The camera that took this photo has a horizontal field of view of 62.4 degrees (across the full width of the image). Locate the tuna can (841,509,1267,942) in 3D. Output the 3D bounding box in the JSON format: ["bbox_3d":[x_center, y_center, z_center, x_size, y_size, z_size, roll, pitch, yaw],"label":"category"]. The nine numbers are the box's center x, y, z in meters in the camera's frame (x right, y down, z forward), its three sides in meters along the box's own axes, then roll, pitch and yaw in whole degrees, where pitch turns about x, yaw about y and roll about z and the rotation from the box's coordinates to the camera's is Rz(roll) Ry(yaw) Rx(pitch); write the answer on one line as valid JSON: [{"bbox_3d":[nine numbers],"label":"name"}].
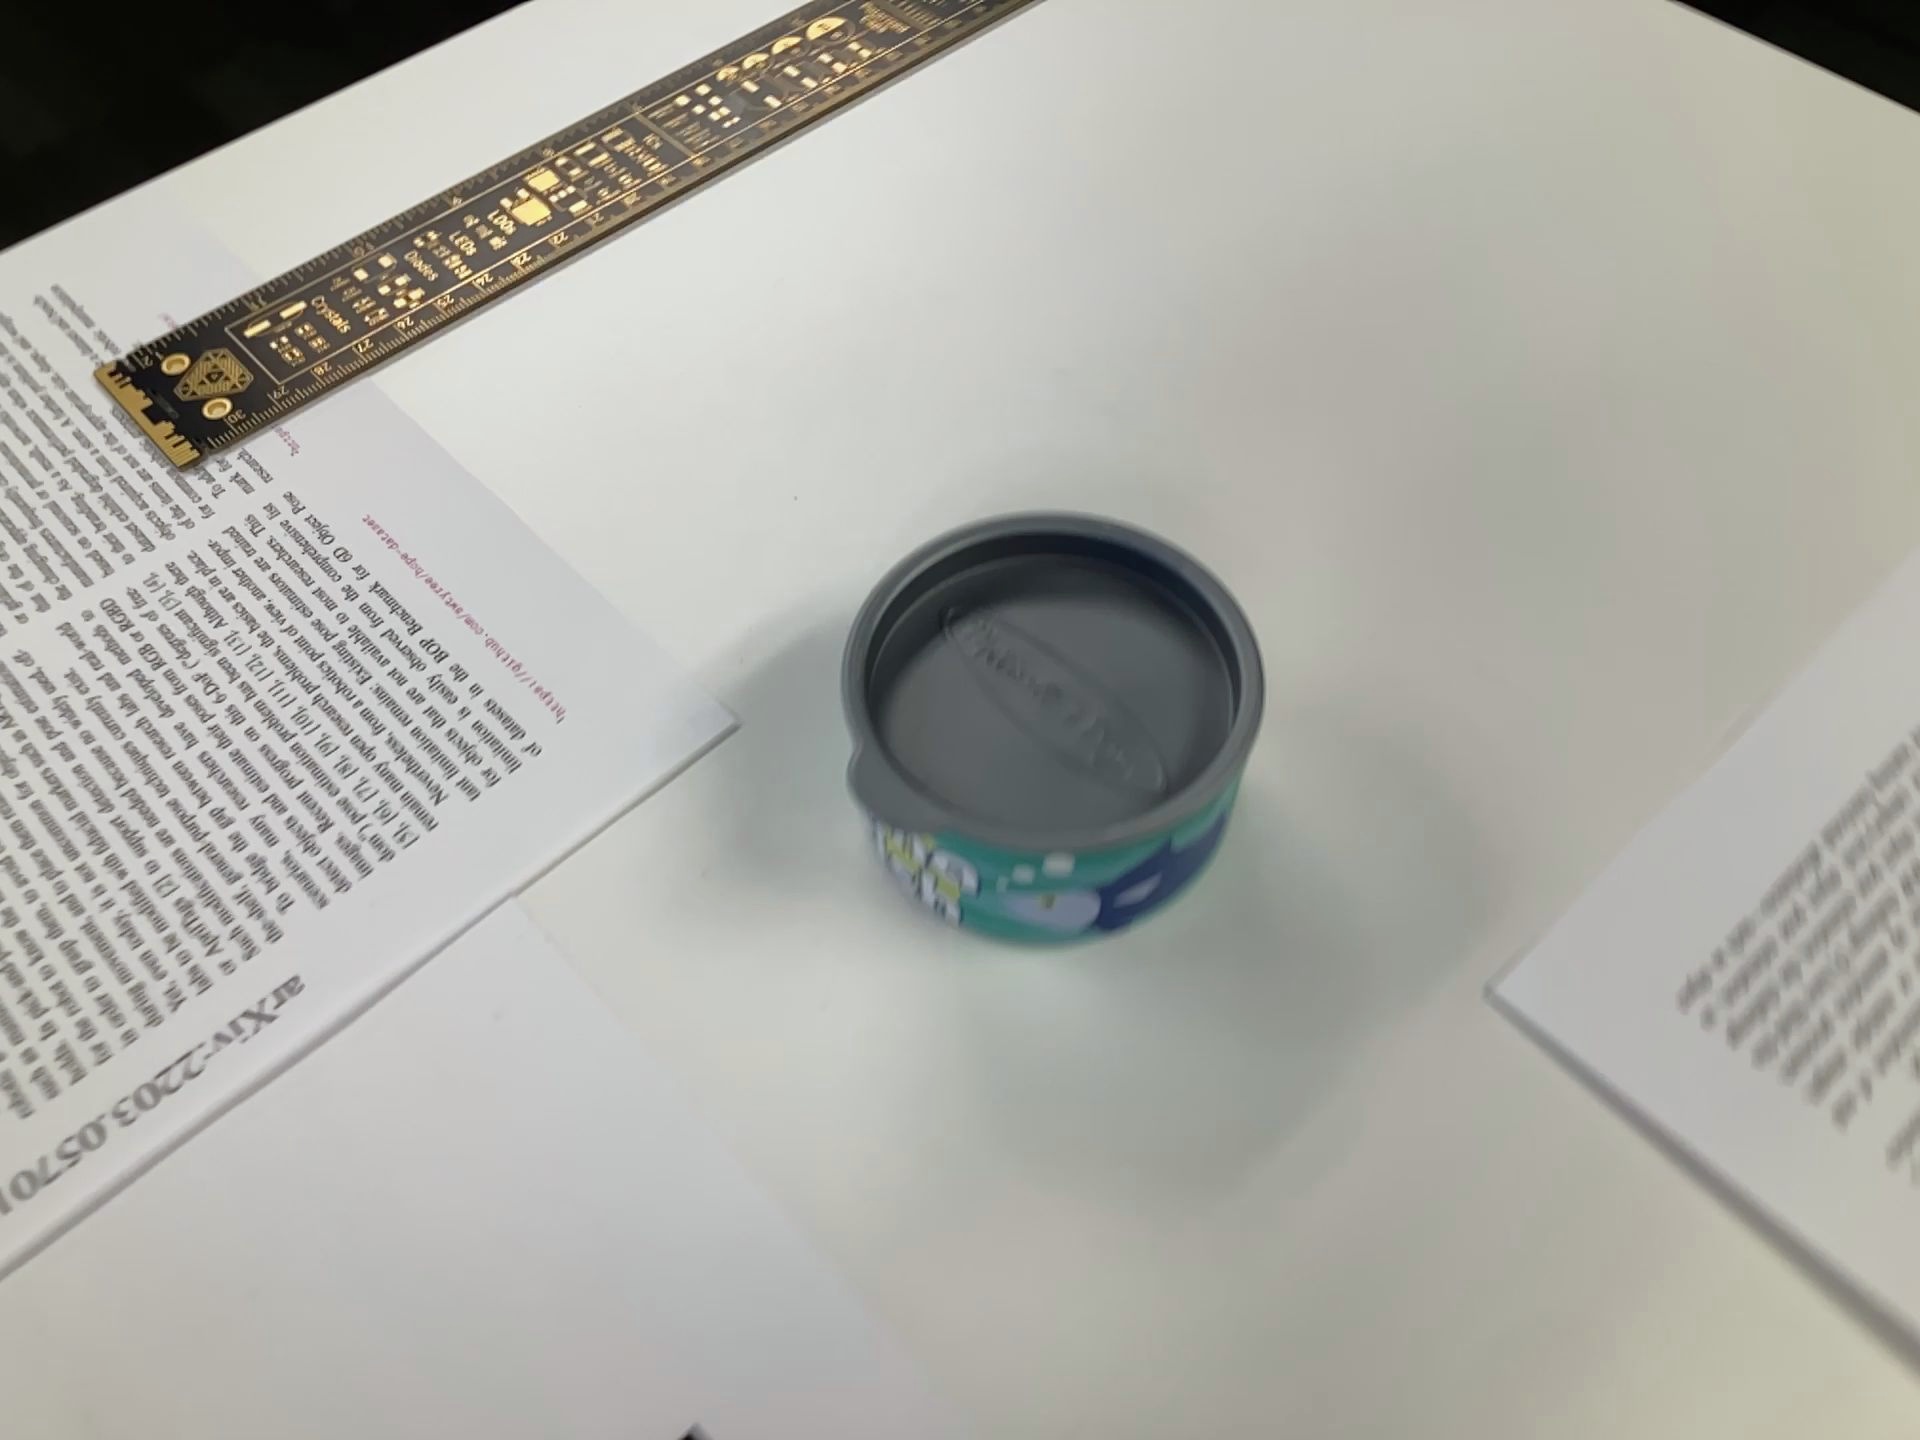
[{"bbox_3d":[0.013,0.002,0.259,0.071,0.033,0.071,0,56,1],"label":"tuna can"}]
